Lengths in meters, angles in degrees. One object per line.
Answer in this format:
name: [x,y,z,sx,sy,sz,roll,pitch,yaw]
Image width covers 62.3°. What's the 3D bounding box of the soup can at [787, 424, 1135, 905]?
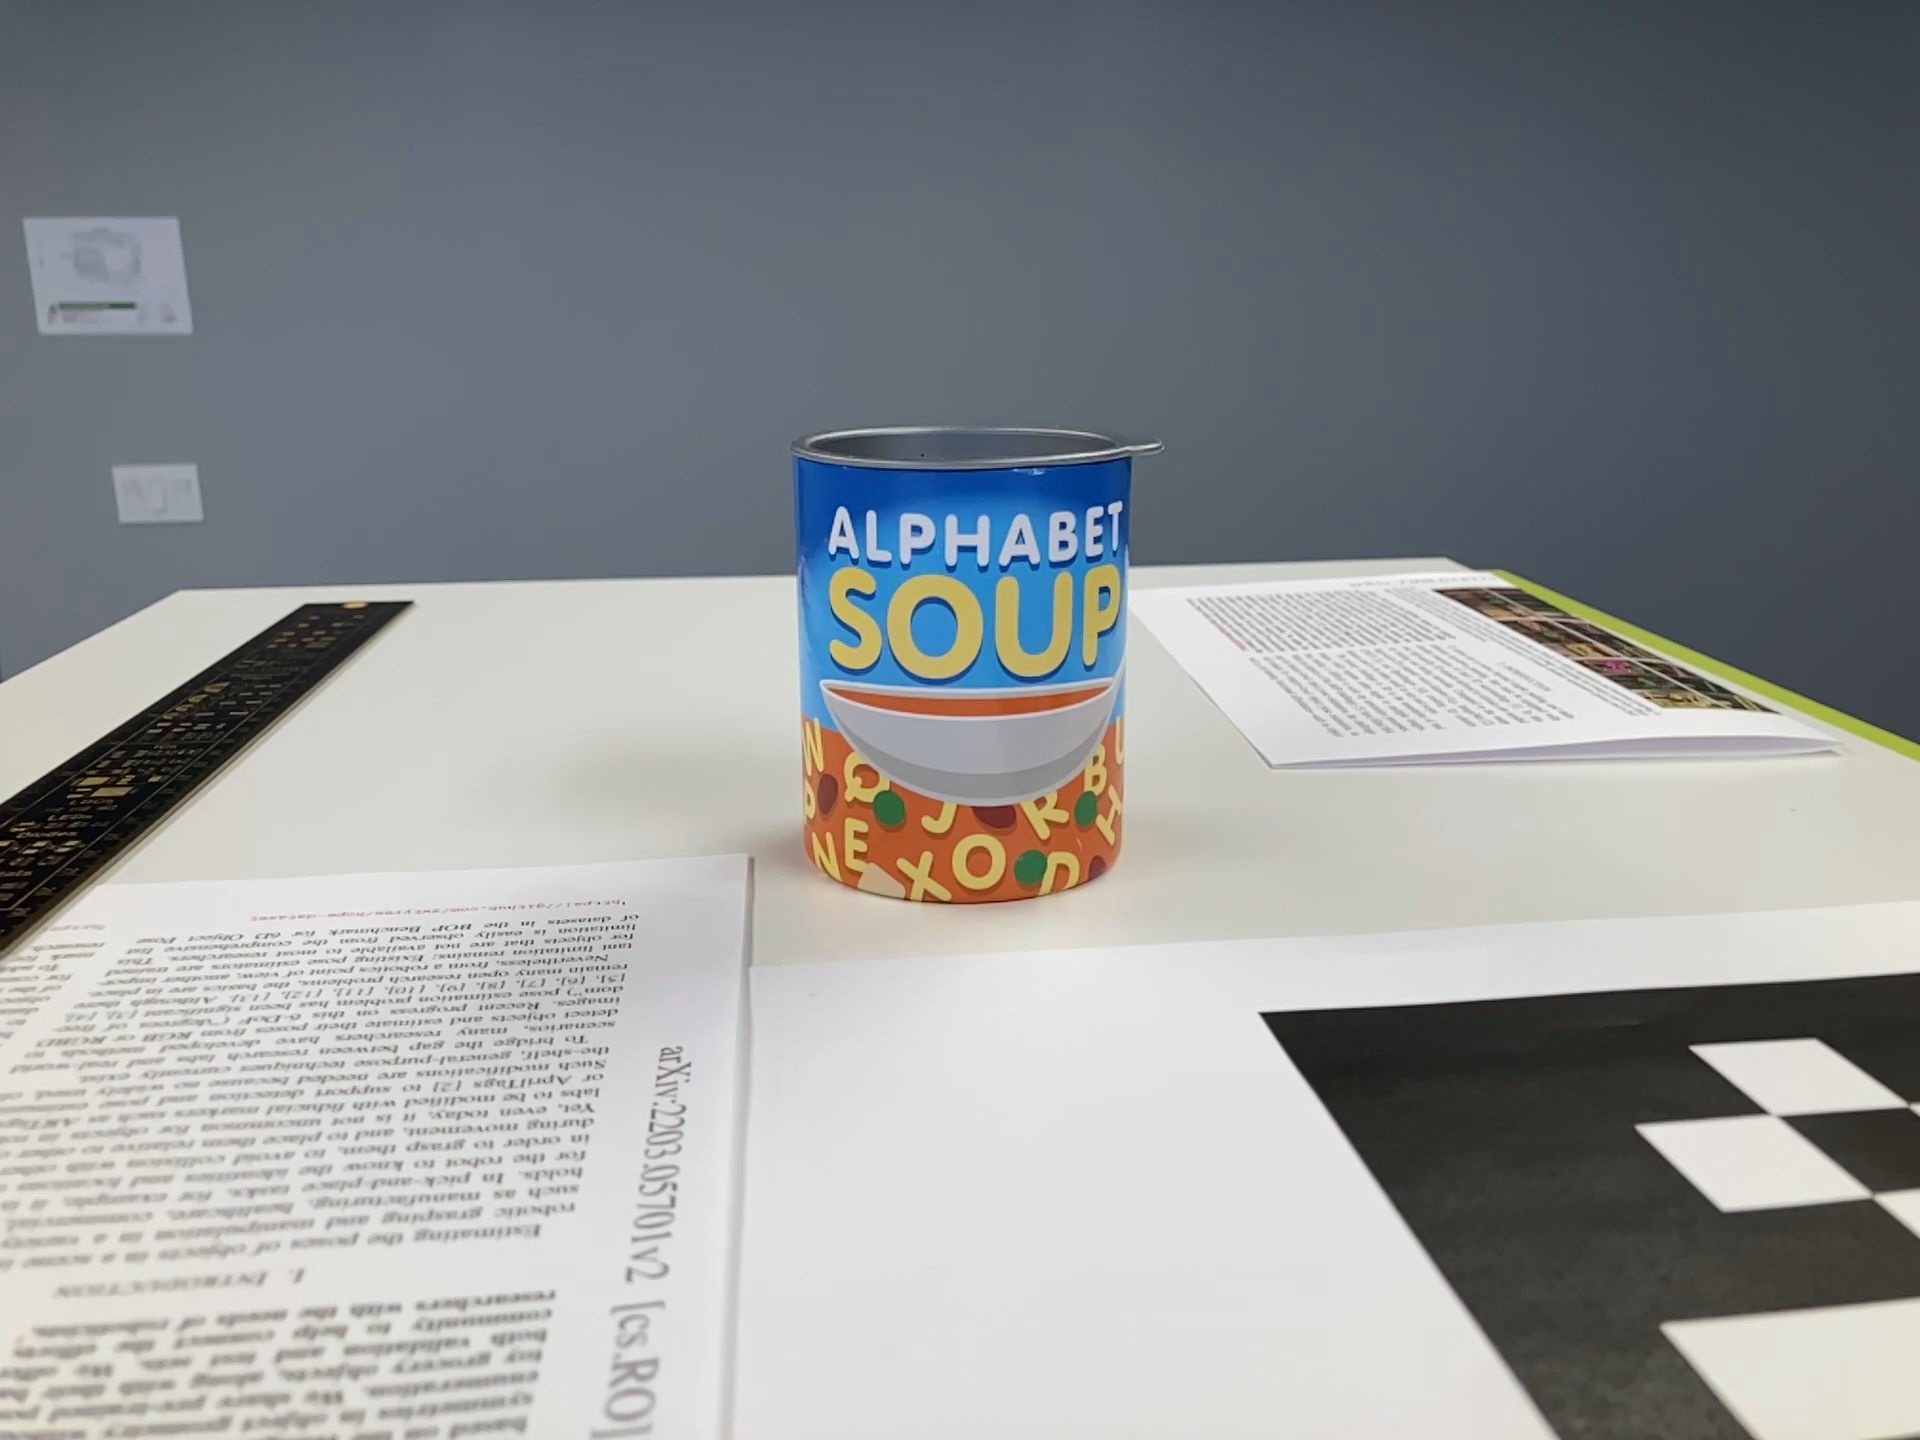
soup can: [0.001,-0.013,0.313,0.071,0.084,0.071,-1,15,0]
